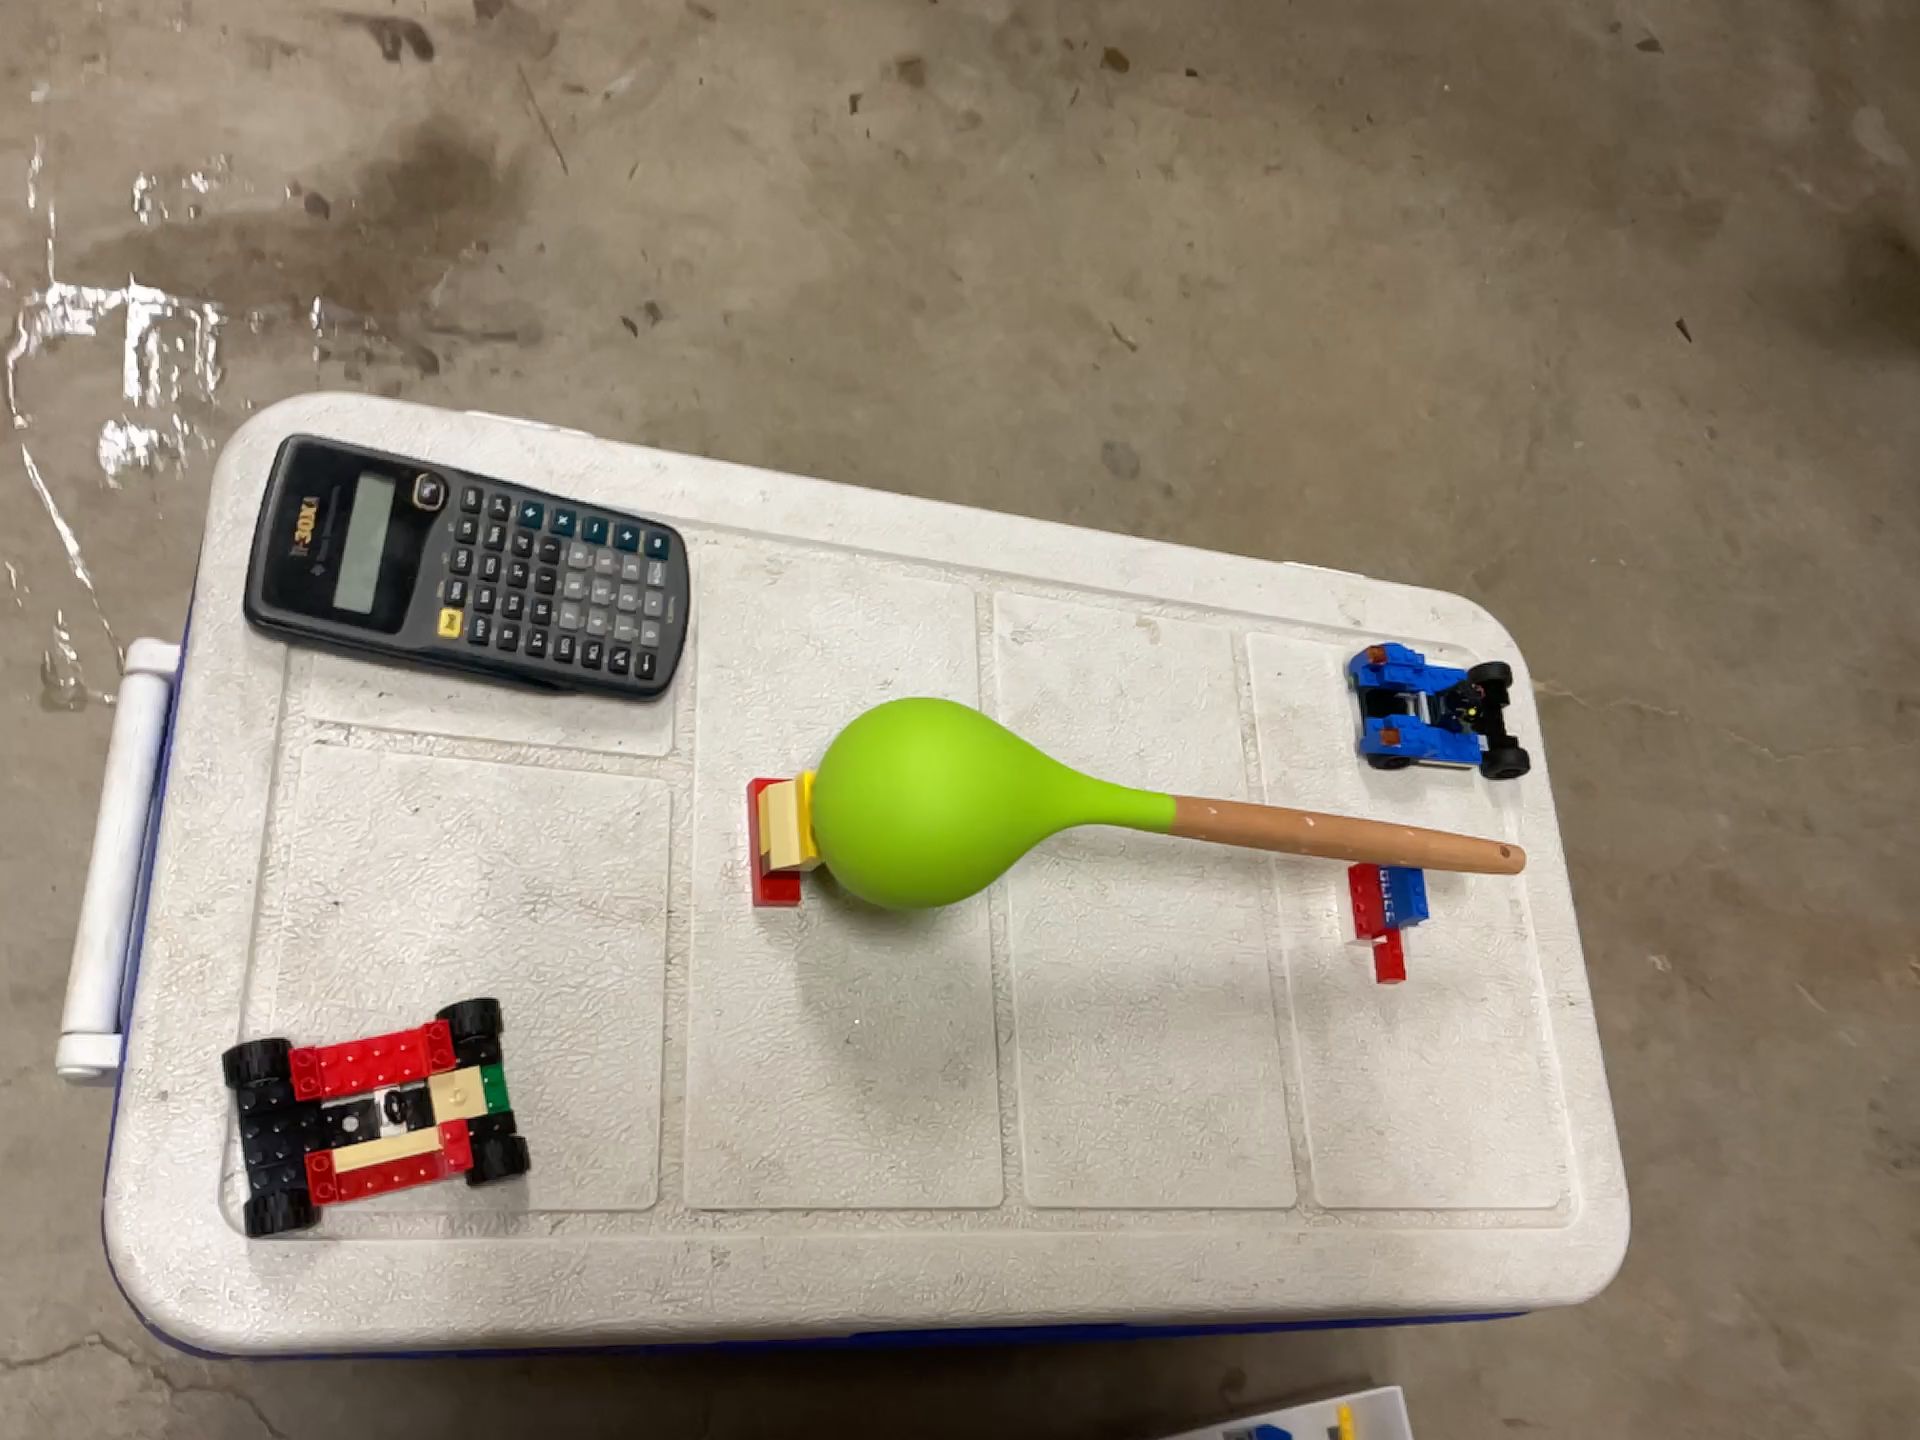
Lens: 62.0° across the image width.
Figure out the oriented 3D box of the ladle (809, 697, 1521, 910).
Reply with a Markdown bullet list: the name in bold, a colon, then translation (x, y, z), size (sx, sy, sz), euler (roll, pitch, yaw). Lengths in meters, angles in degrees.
- **ladle**: translation (0.093, 0.044, 0.620), size (0.320, 0.062, 0.078), euler (9, 59, -29)
